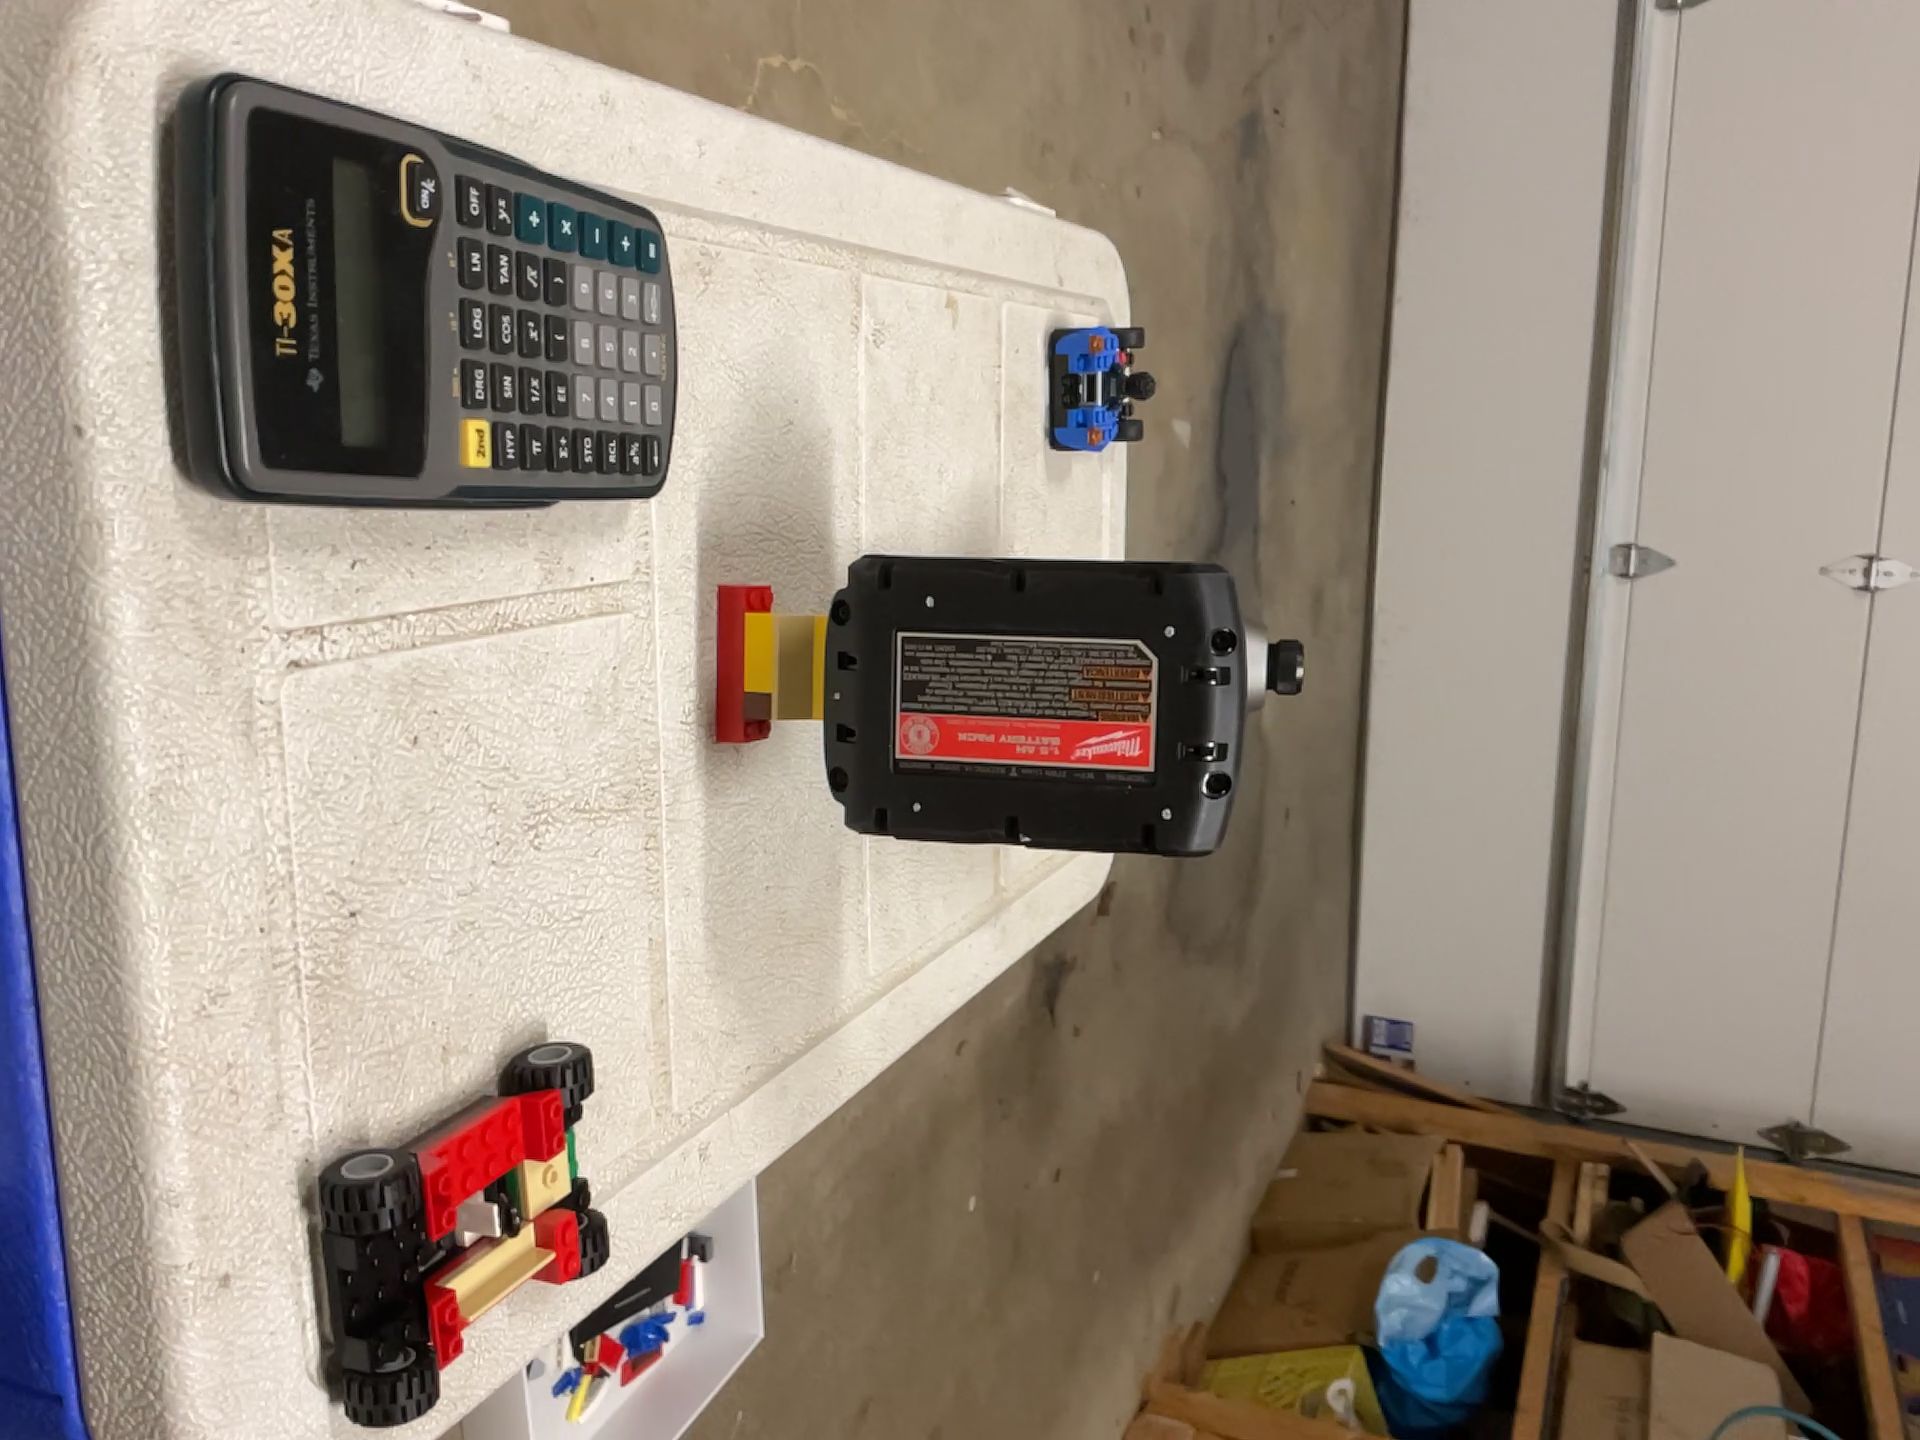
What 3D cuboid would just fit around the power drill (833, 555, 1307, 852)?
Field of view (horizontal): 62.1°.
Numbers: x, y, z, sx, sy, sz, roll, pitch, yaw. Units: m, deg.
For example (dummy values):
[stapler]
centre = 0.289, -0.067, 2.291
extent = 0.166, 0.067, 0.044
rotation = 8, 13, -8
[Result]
[power drill]
centre = 0.045, -0.015, 0.537
extent = 0.220, 0.143, 0.078
rotation = -29, 121, -78
